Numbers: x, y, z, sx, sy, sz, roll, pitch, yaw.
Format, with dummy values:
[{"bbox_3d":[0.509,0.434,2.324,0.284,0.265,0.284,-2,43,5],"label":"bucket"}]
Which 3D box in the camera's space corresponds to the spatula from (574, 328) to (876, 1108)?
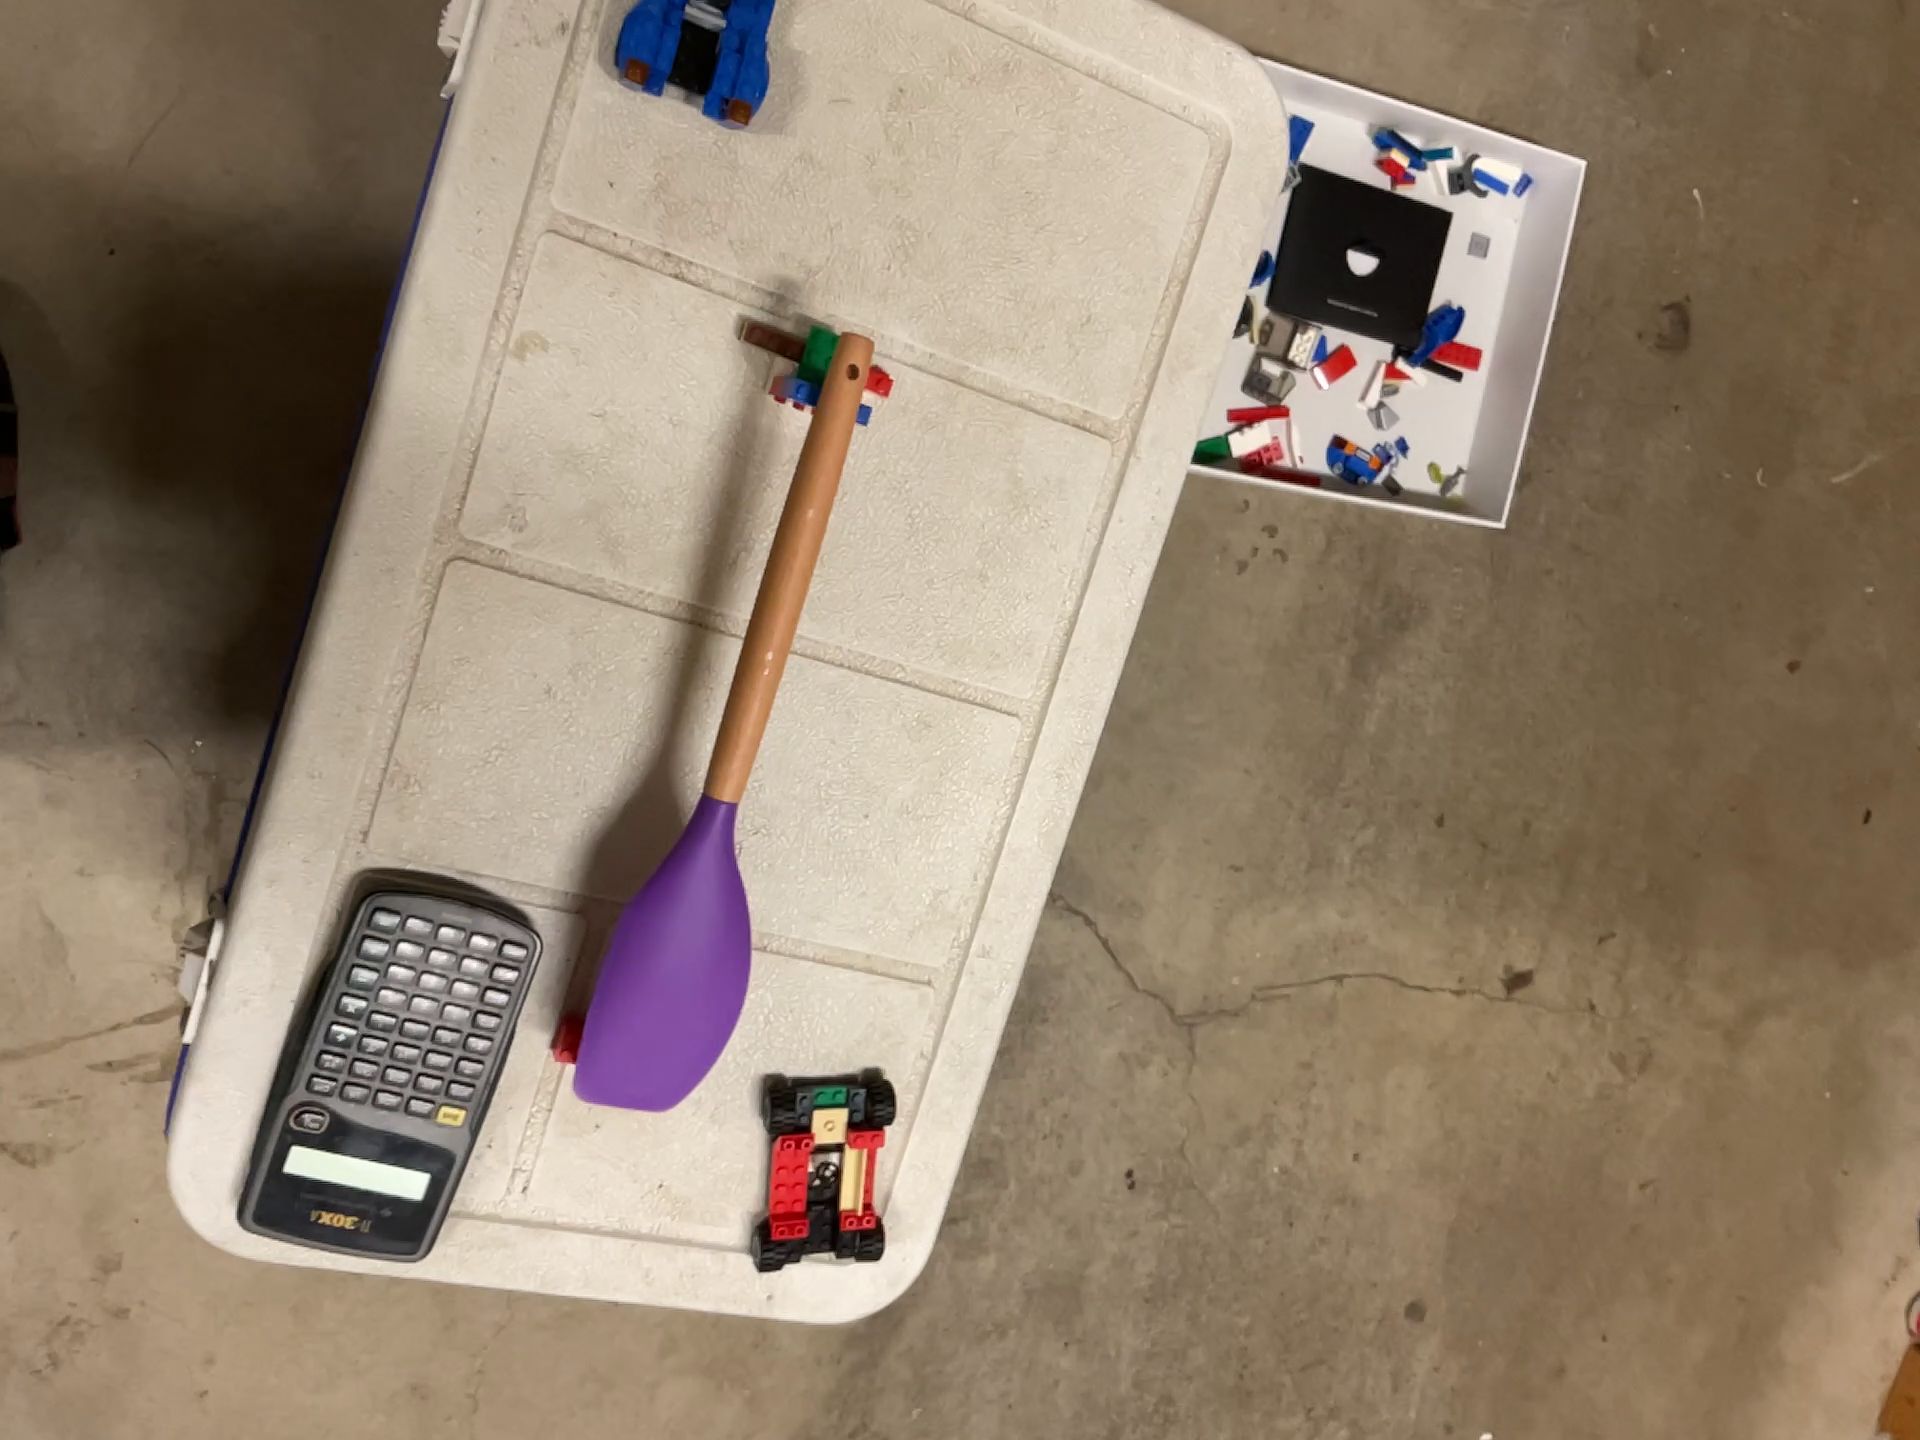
[{"bbox_3d":[-0.083,0.005,0.617,0.060,0.018,0.316,14,98,-22],"label":"spatula"}]
